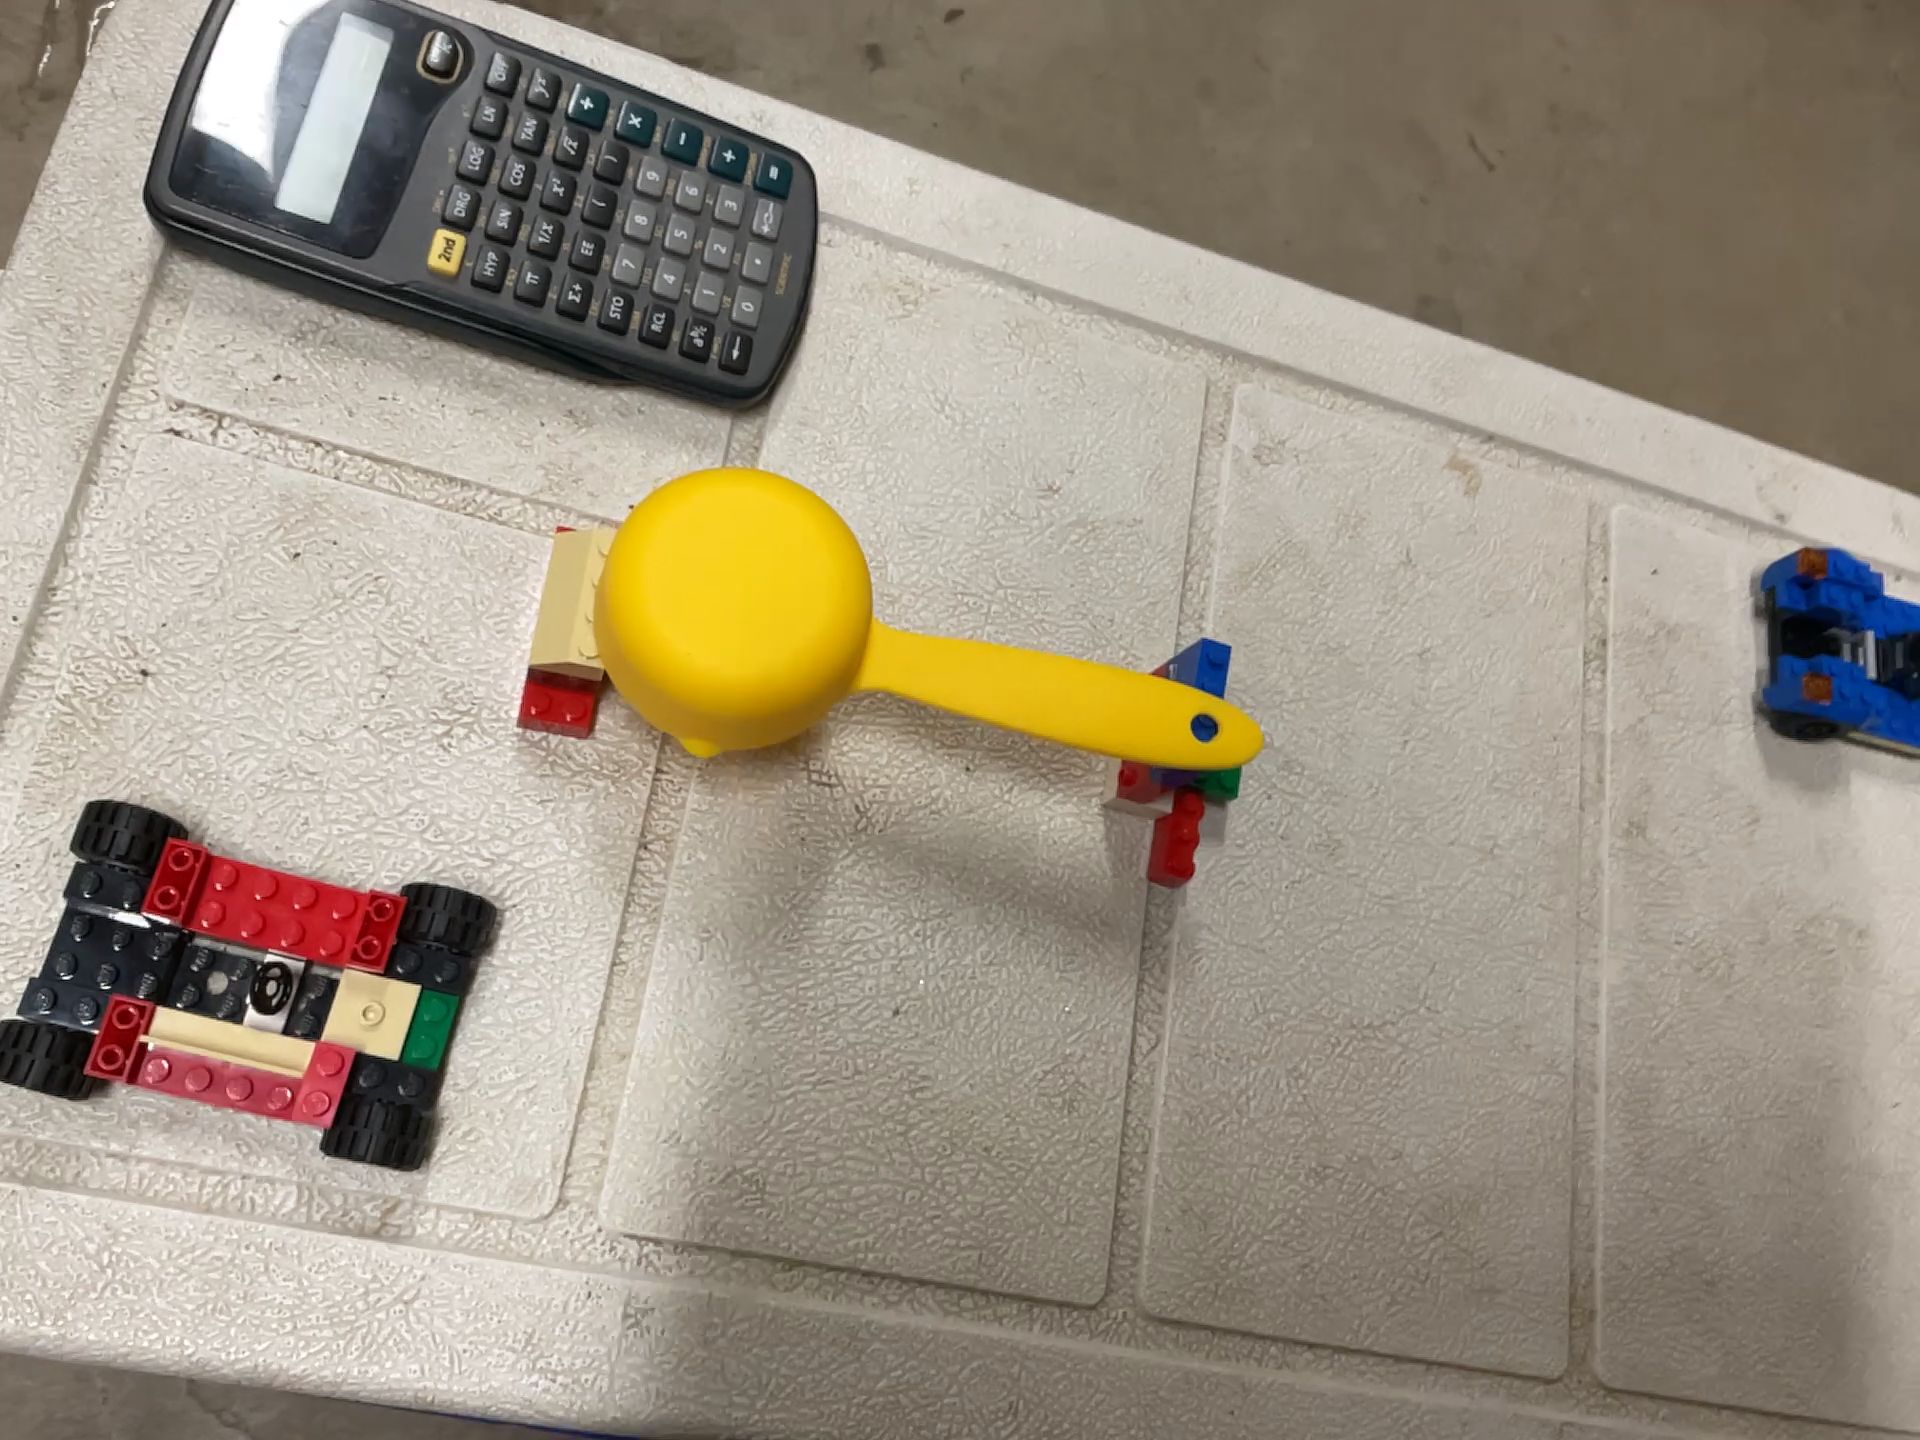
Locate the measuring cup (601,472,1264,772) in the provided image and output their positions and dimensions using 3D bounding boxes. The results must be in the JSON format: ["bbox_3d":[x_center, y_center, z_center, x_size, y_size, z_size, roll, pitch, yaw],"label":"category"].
[{"bbox_3d":[-0.001,-0.015,0.356,0.156,0.029,0.062,13,71,-9],"label":"measuring cup"}]
